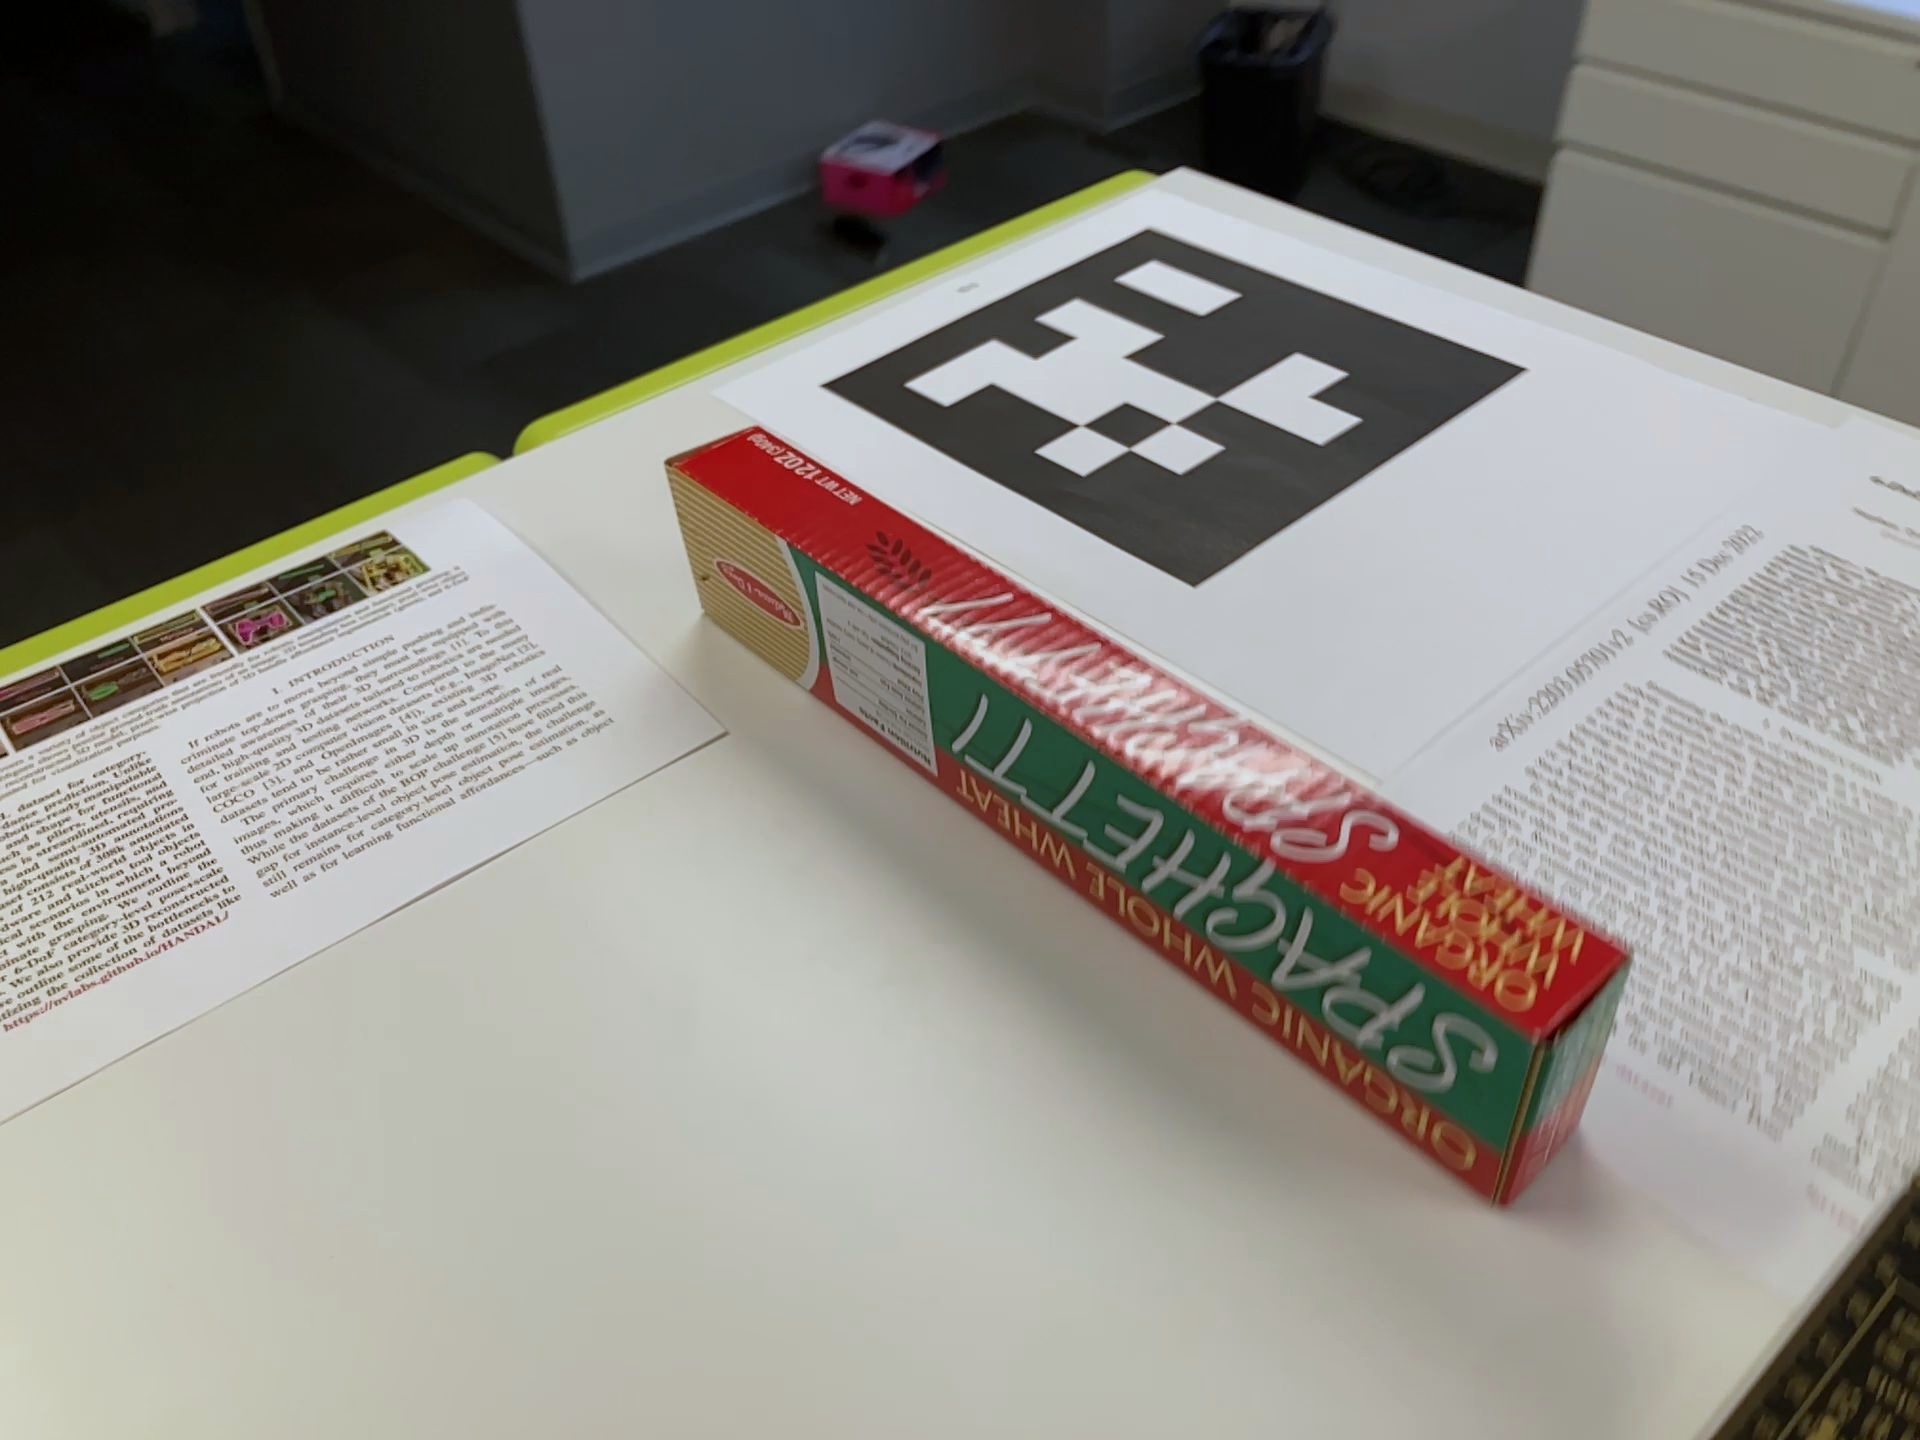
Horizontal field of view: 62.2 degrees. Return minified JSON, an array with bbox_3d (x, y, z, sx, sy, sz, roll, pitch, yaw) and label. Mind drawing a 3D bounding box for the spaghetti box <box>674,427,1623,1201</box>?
[{"bbox_3d":[0.022,0.006,0.345,0.028,0.050,0.250,-33,49,-27],"label":"spaghetti box"}]
